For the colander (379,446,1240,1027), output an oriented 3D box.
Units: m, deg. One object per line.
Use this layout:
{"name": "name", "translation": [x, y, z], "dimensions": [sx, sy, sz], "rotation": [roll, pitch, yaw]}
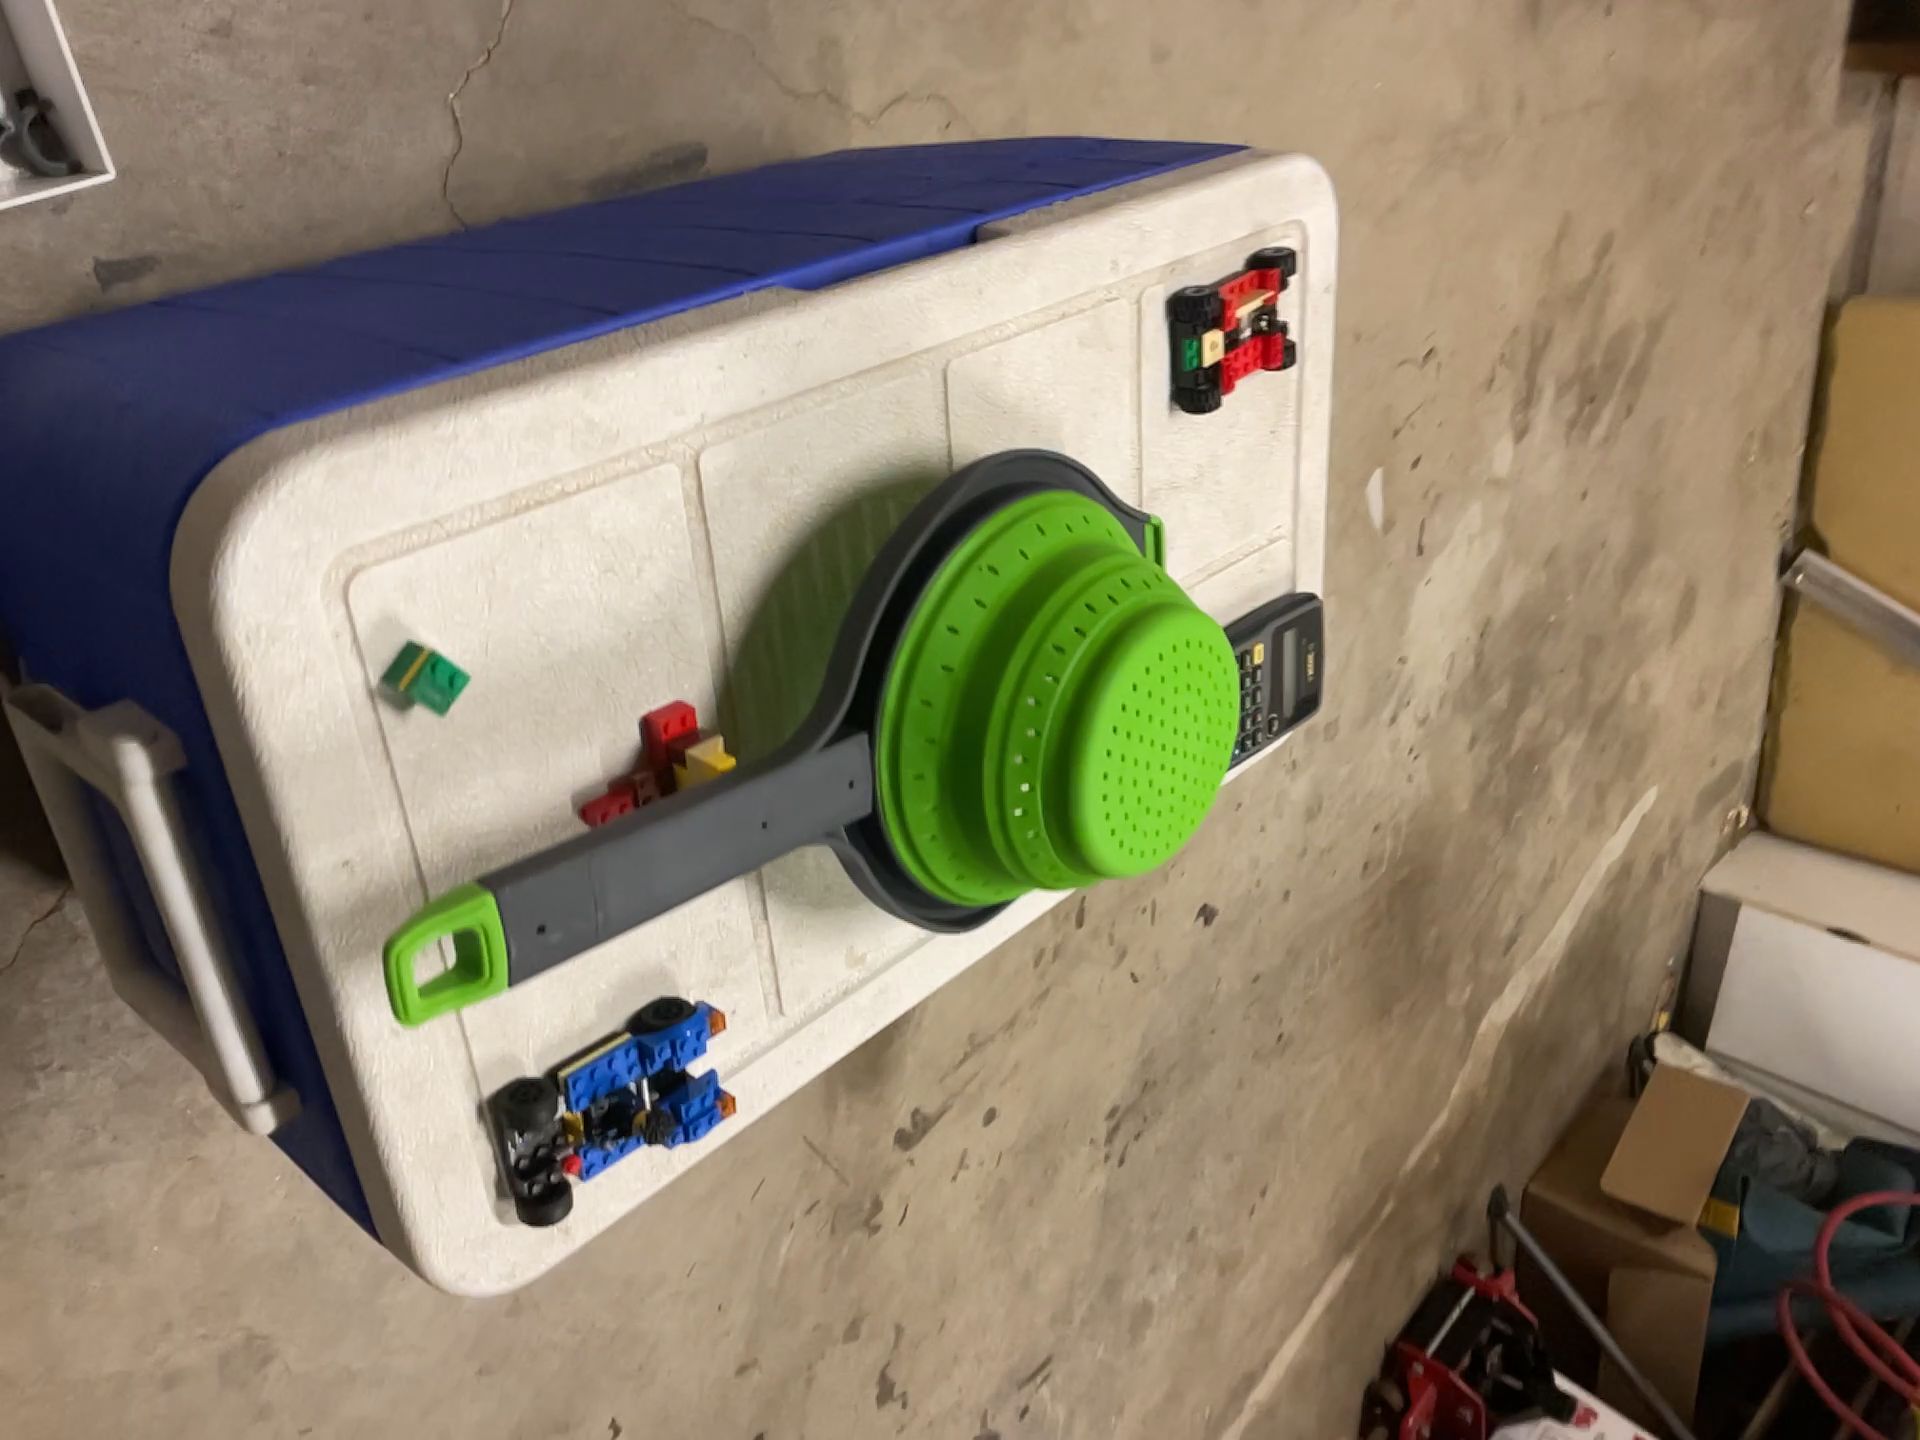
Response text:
{"name": "colander", "translation": [-0.010, 0.025, 0.579], "dimensions": [0.397, 0.094, 0.204], "rotation": [-25, 123, -42]}
